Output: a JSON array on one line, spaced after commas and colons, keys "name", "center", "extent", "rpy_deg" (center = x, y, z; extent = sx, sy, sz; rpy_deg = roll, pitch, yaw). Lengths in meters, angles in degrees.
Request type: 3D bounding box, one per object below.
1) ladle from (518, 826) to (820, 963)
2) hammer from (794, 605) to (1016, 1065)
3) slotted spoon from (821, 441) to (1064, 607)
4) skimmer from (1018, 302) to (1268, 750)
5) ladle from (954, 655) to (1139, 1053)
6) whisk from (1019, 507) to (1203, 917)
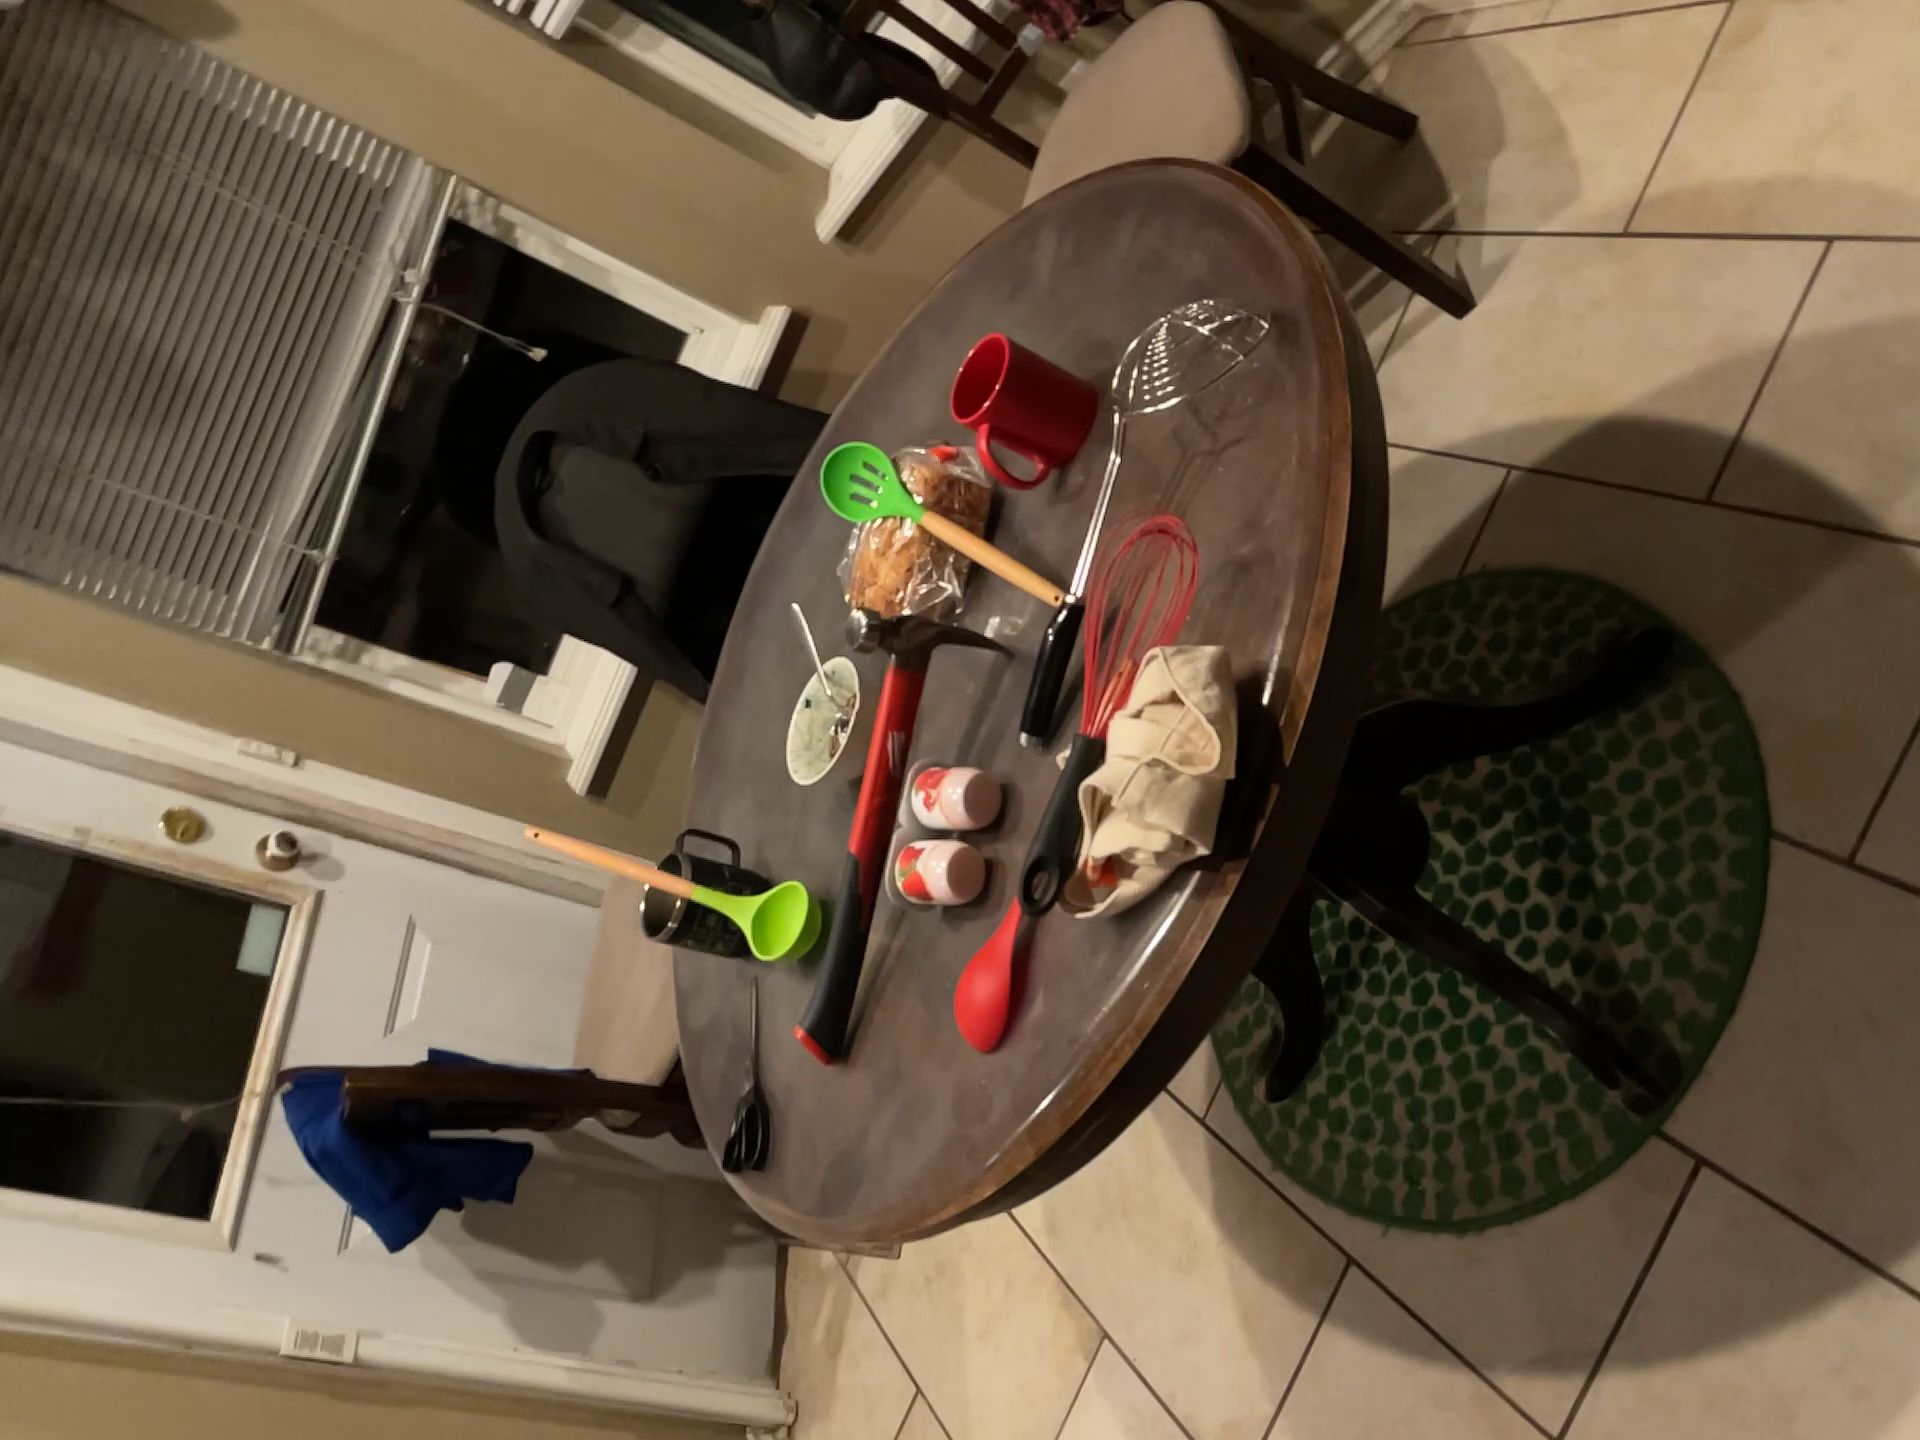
[{"name": "ladle", "center": [-0.276, 0.149, 1.475], "extent": [0.062, 0.320, 0.078], "rpy_deg": [73, -143, -66]}, {"name": "hammer", "center": [-0.061, 0.103, 1.325], "extent": [0.038, 0.143, 0.386], "rpy_deg": [29, 108, 61]}, {"name": "slotted spoon", "center": [-0.011, -0.160, 1.352], "extent": [0.314, 0.031, 0.070], "rpy_deg": [35, 108, 37]}, {"name": "skimmer", "center": [0.132, -0.144, 1.209], "extent": [0.127, 0.090, 0.363], "rpy_deg": [-132, 56, -66]}, {"name": "ladle", "center": [0.065, 0.097, 1.172], "extent": [0.069, 0.031, 0.315], "rpy_deg": [27, 93, 60]}, {"name": "whisk", "center": [0.097, -0.006, 1.083], "extent": [0.073, 0.073, 0.296], "rpy_deg": [16, 86, 59]}]
